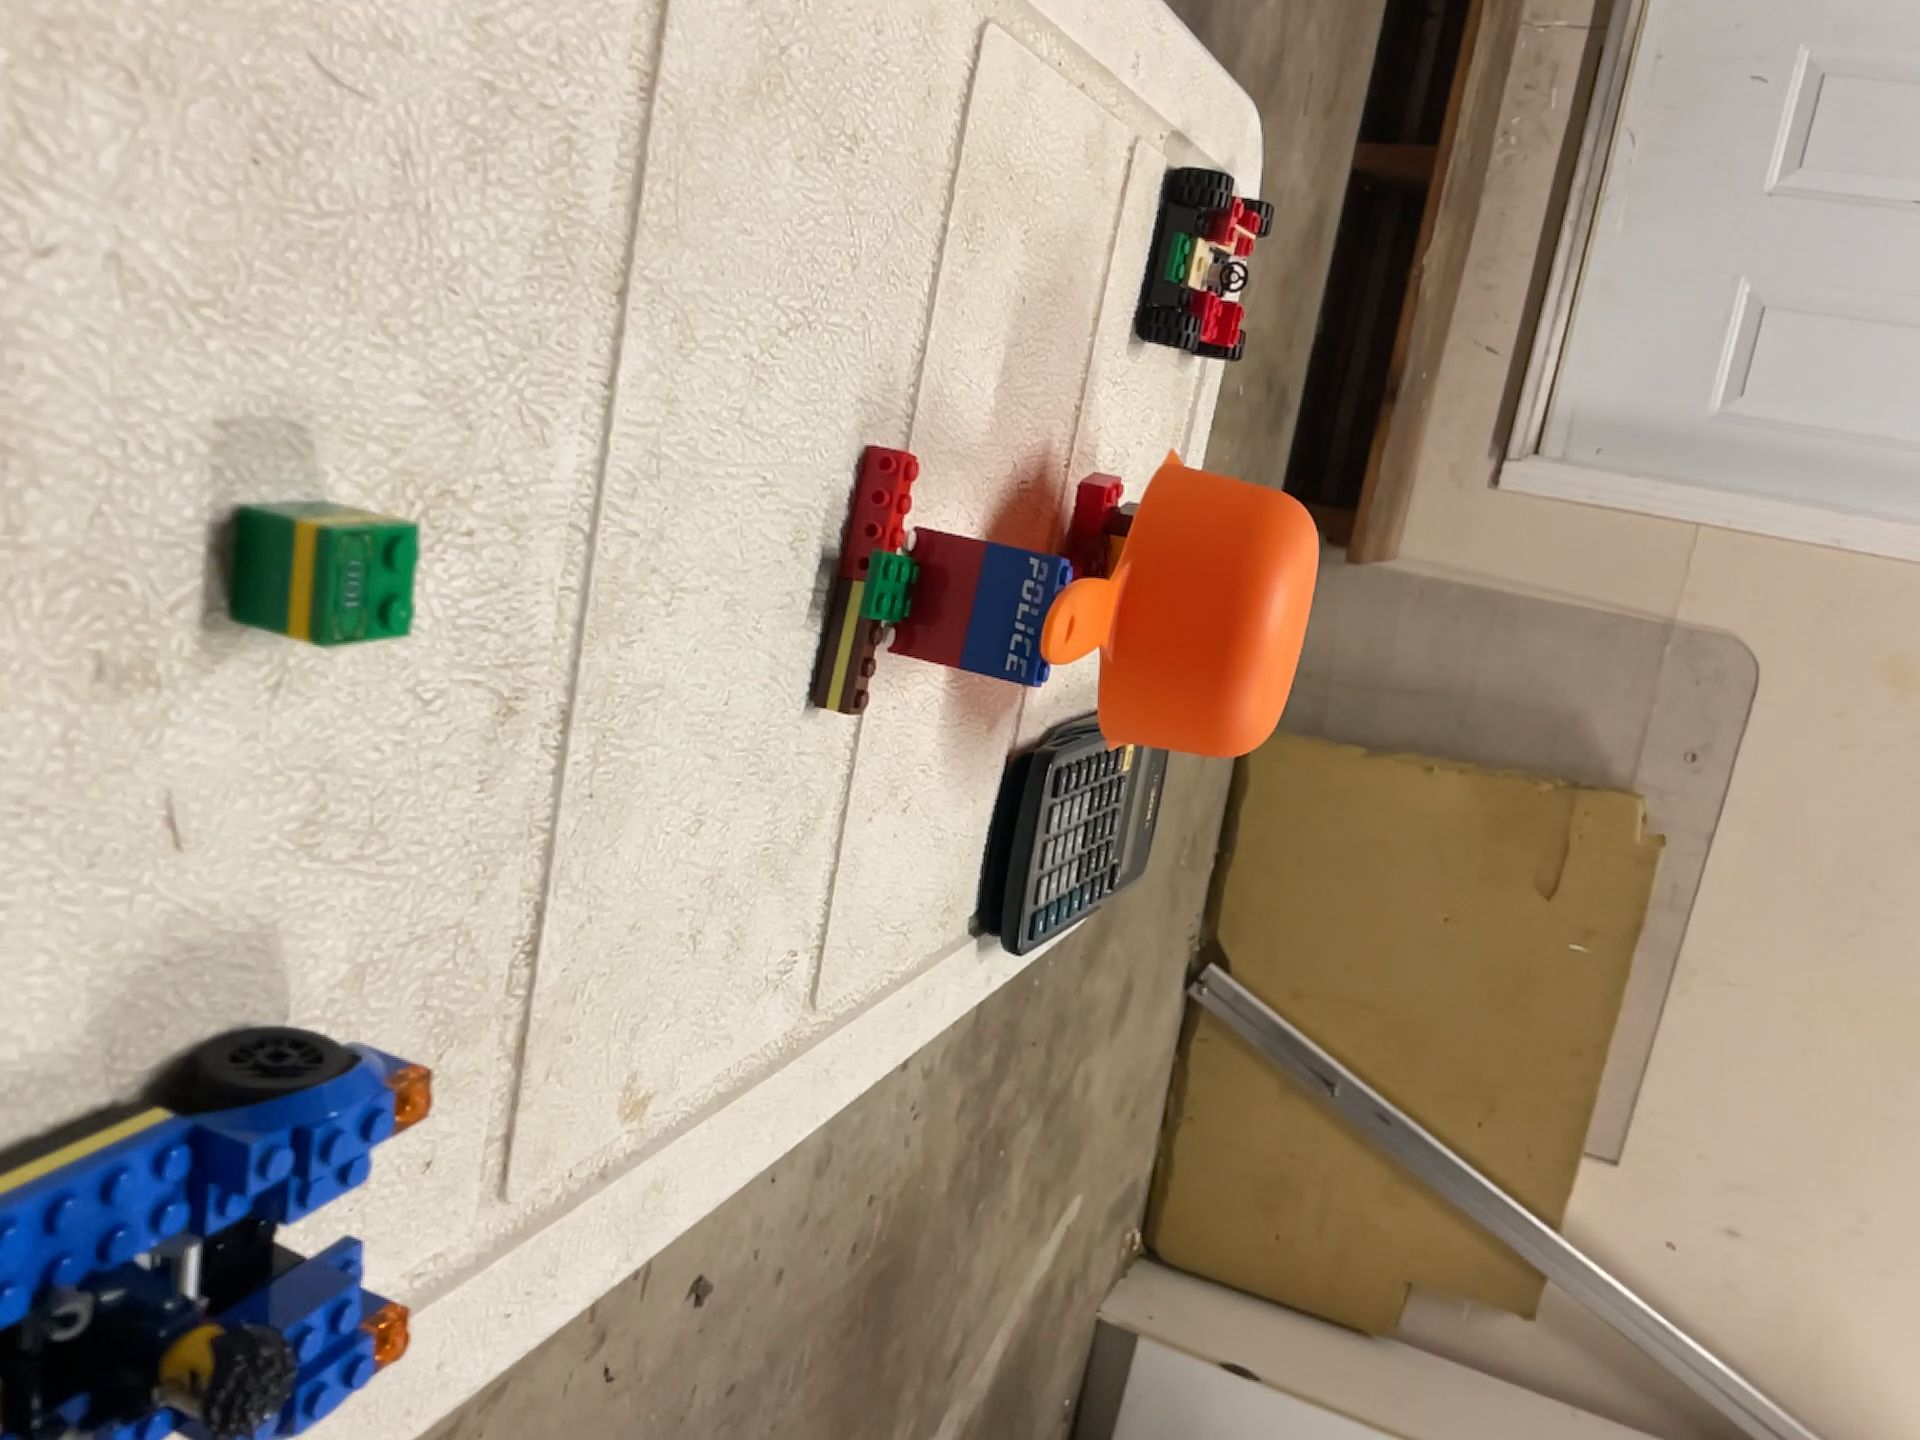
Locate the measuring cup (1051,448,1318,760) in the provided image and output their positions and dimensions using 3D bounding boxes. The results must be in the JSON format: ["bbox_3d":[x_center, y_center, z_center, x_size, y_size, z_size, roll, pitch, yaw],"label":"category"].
[{"bbox_3d":[0.066,-0.027,0.448,0.173,0.052,0.095,-23,124,-73],"label":"measuring cup"}]
